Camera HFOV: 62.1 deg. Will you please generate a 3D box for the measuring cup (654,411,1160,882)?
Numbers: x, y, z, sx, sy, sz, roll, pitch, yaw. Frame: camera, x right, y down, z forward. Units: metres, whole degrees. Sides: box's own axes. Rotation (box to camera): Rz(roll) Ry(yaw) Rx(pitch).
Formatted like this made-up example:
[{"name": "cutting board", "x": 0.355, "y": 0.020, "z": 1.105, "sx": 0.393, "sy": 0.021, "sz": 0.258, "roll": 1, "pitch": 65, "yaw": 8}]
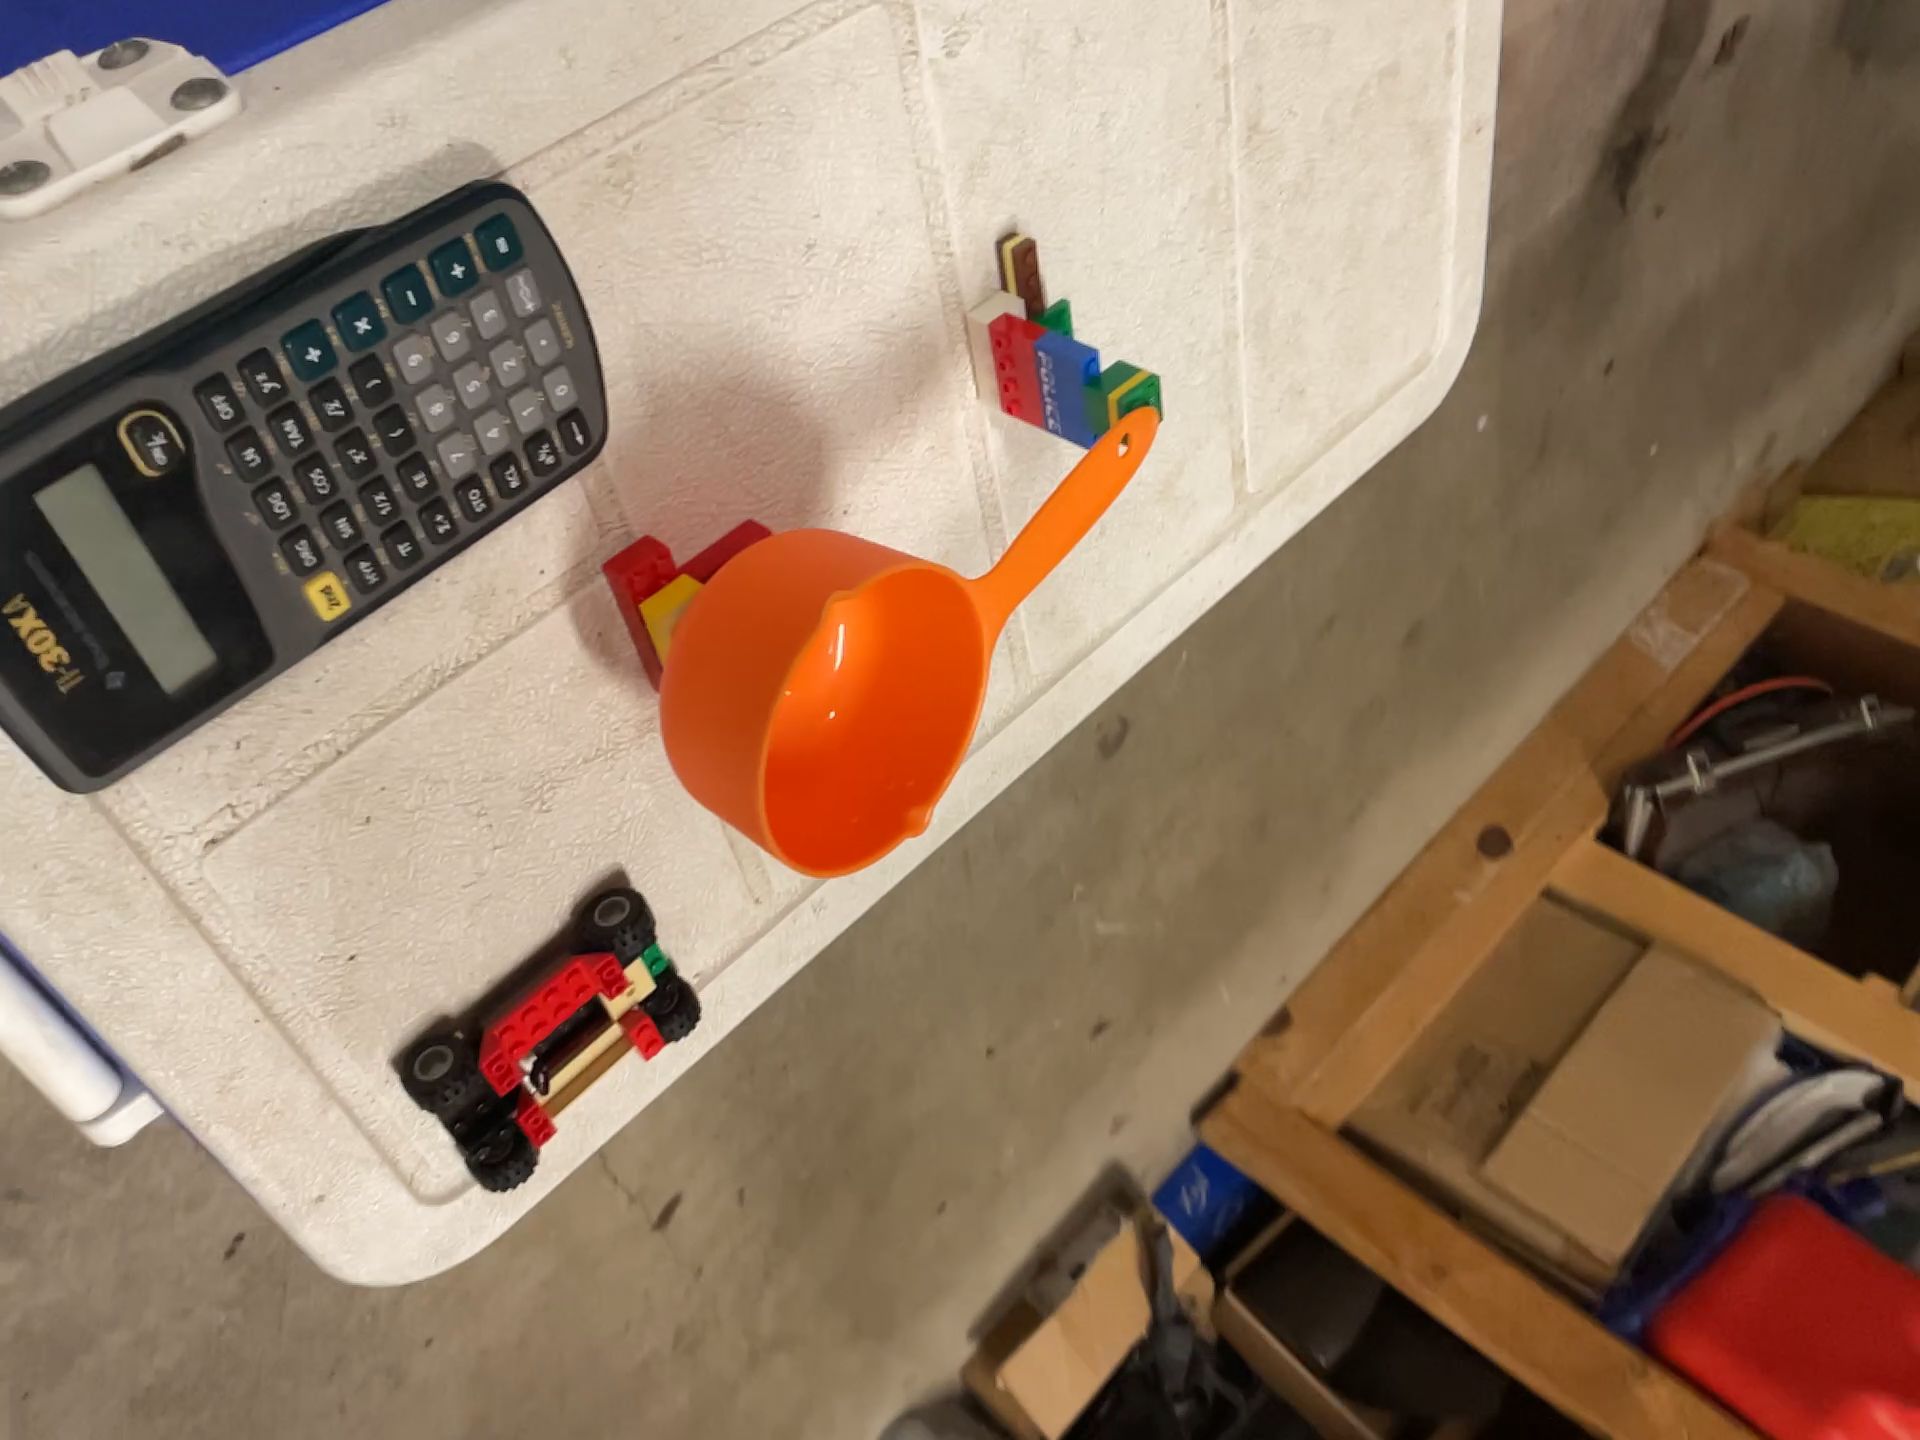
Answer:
[{"name": "measuring cup", "x": -0.012, "y": -0.036, "z": 0.439, "sx": 0.174, "sy": 0.052, "sz": 0.095, "roll": -48, "pitch": 144, "yaw": -24}]
